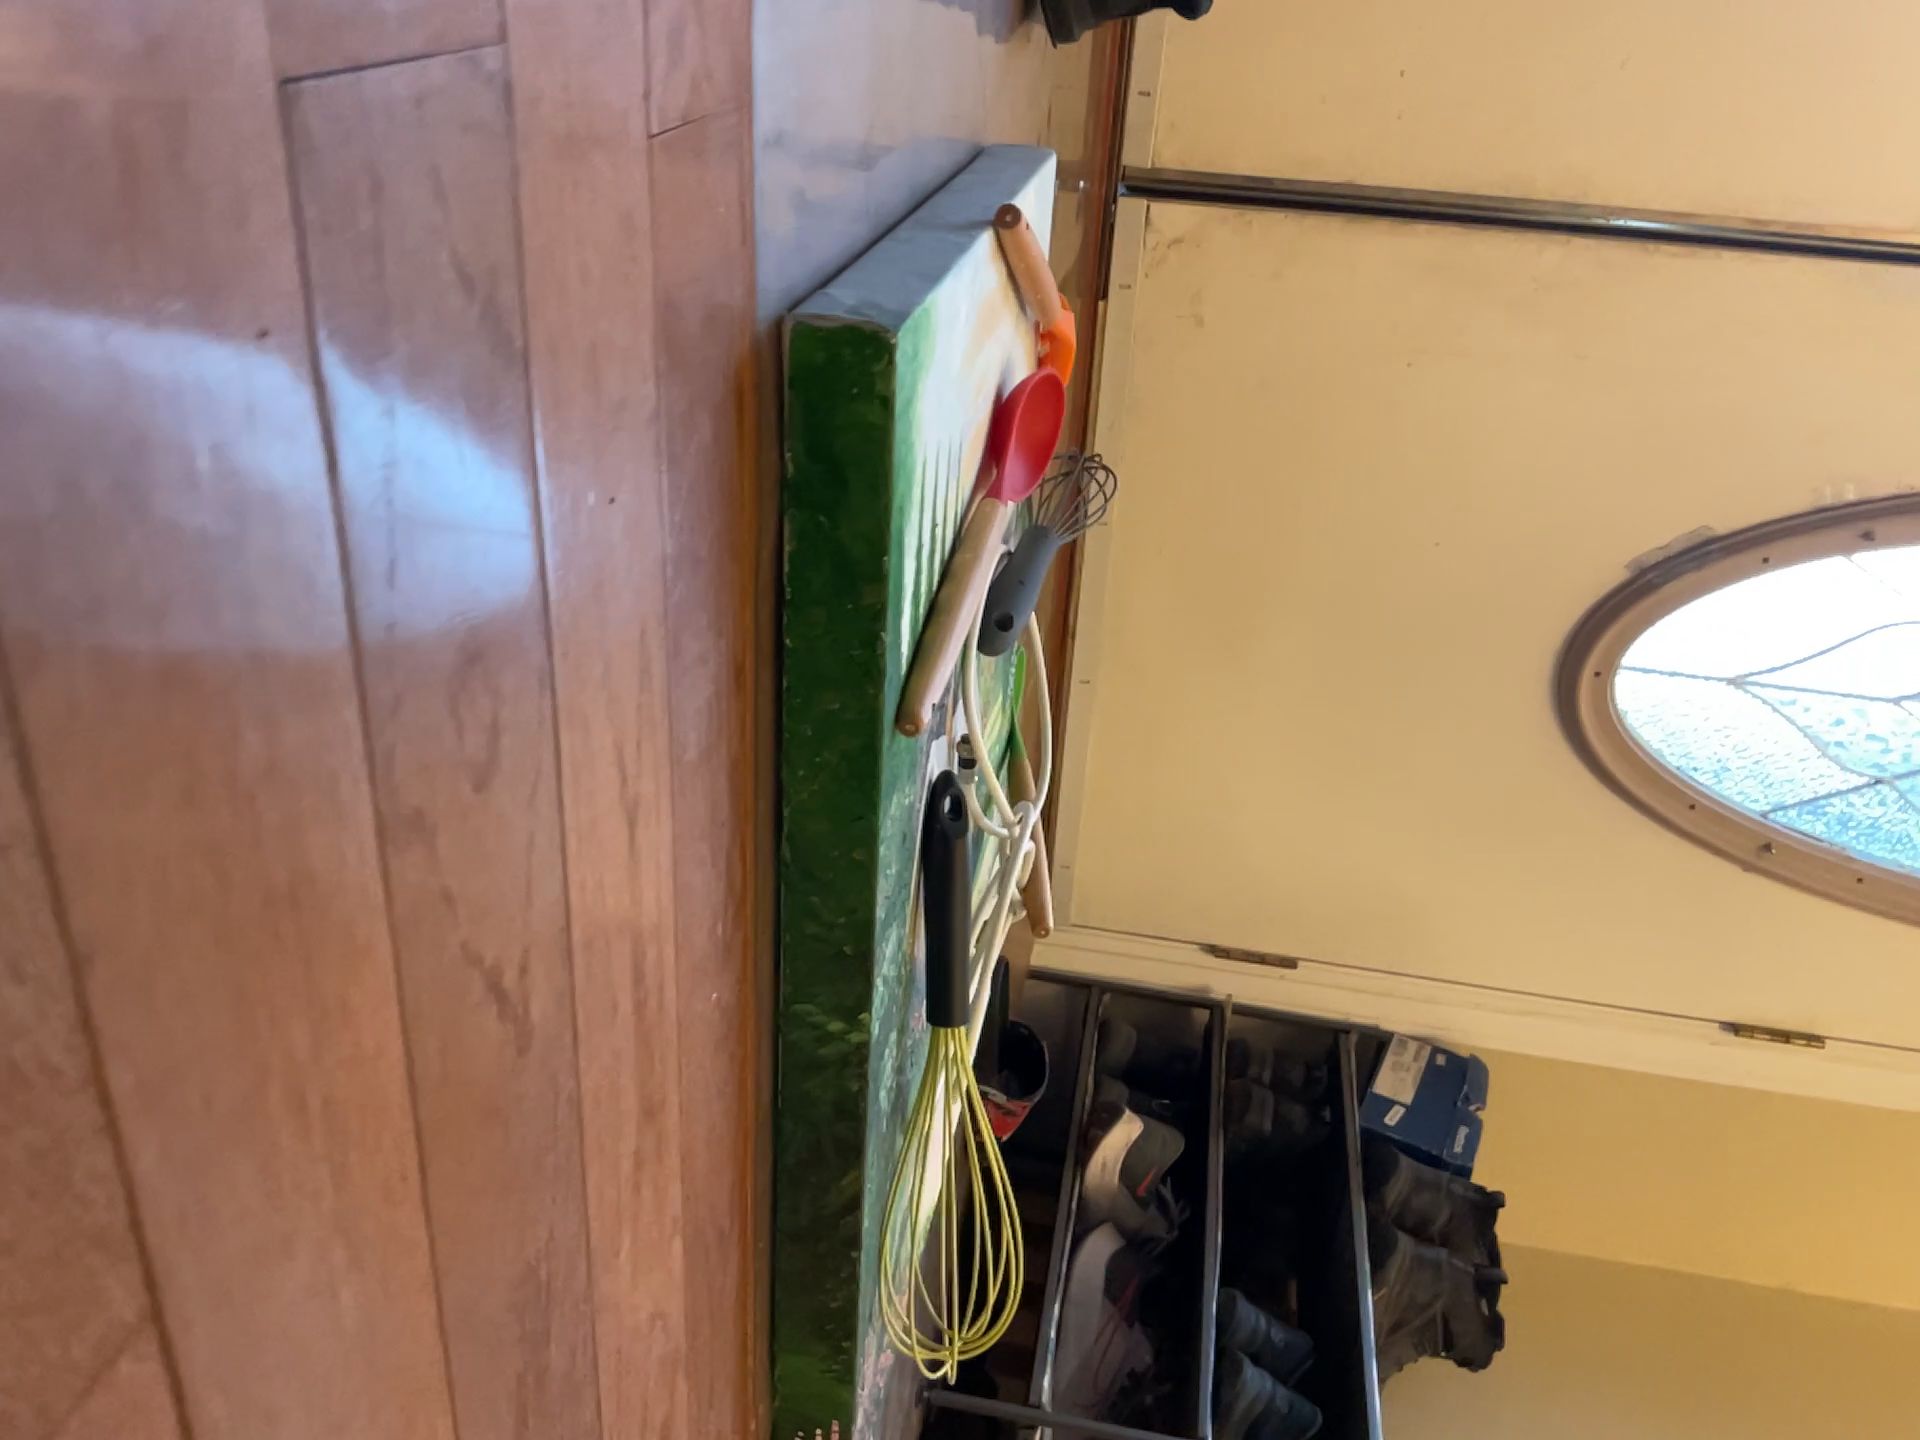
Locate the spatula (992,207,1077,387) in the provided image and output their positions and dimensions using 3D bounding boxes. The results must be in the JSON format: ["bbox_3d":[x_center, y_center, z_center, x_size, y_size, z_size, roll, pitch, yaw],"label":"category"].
[{"bbox_3d":[0.037,-0.227,0.872,0.322,0.041,0.081,-8,95,-81],"label":"spatula"}]

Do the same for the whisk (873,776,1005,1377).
[{"bbox_3d":[-0.009,0.181,0.796,0.080,0.067,0.311,-71,162,-80],"label":"whisk"}]

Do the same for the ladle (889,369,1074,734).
[{"bbox_3d":[0.012,-0.087,0.754,0.316,0.031,0.069,-68,163,-53],"label":"ladle"}]

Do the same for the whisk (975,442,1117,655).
[{"bbox_3d":[0.050,-0.105,0.952,0.239,0.055,0.055,-63,150,-51],"label":"whisk"}]

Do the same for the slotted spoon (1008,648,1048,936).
[{"bbox_3d":[0.041,0.042,1.062,0.314,0.031,0.070,-93,-174,-60],"label":"slotted spoon"}]
